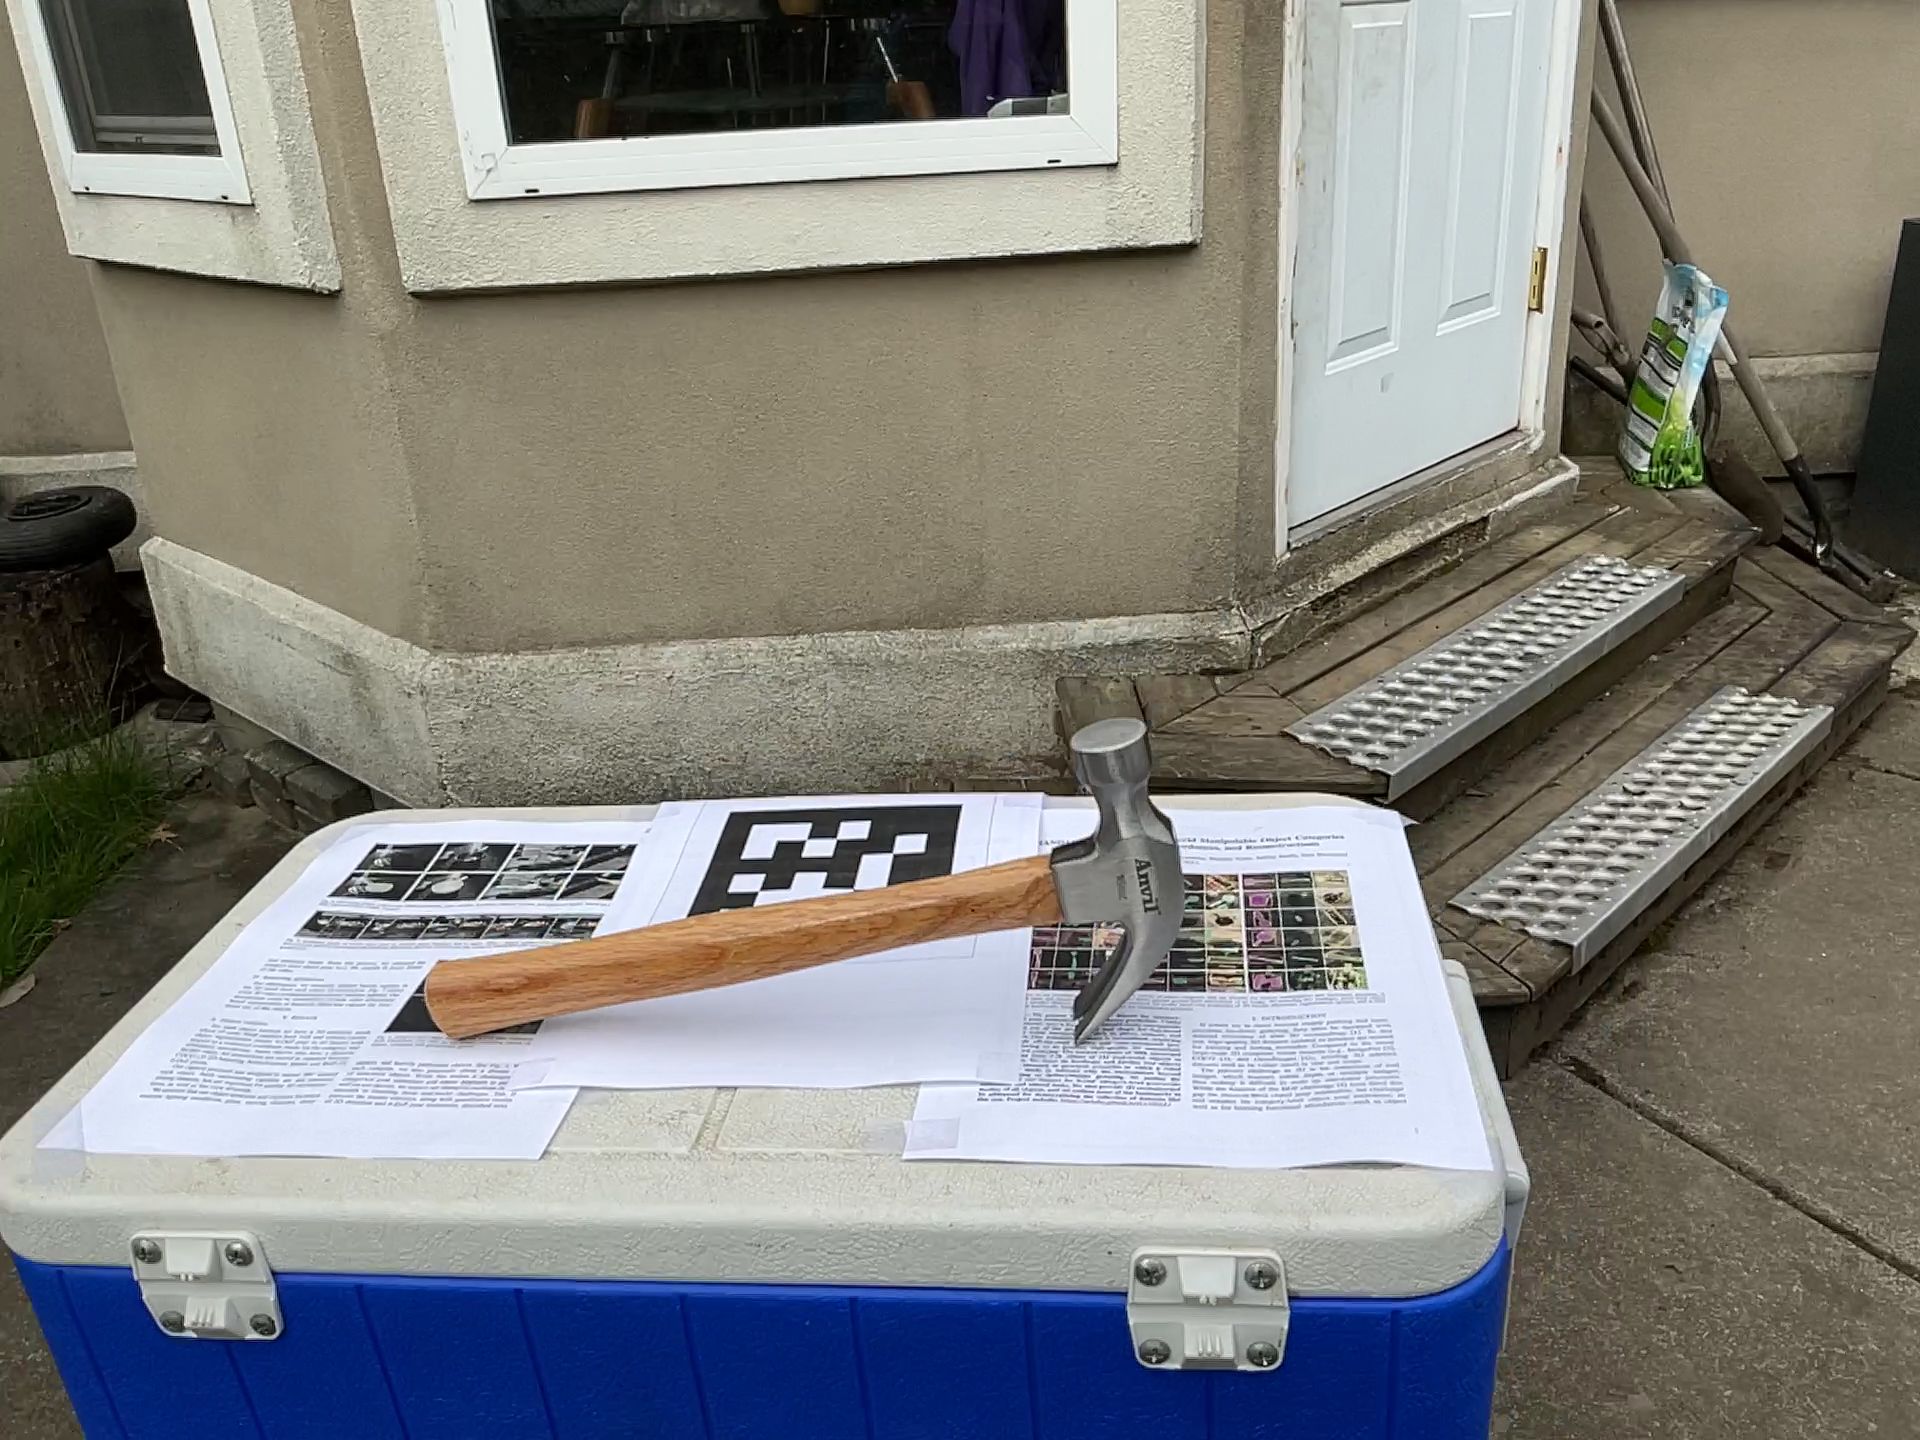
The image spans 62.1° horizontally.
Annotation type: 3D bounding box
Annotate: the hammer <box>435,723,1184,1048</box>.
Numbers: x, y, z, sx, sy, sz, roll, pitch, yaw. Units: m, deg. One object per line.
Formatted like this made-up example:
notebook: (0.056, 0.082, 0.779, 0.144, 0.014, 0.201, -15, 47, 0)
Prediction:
hammer: (-0.068, 0.095, 0.684, 0.331, 0.130, 0.031, -12, 21, 11)
